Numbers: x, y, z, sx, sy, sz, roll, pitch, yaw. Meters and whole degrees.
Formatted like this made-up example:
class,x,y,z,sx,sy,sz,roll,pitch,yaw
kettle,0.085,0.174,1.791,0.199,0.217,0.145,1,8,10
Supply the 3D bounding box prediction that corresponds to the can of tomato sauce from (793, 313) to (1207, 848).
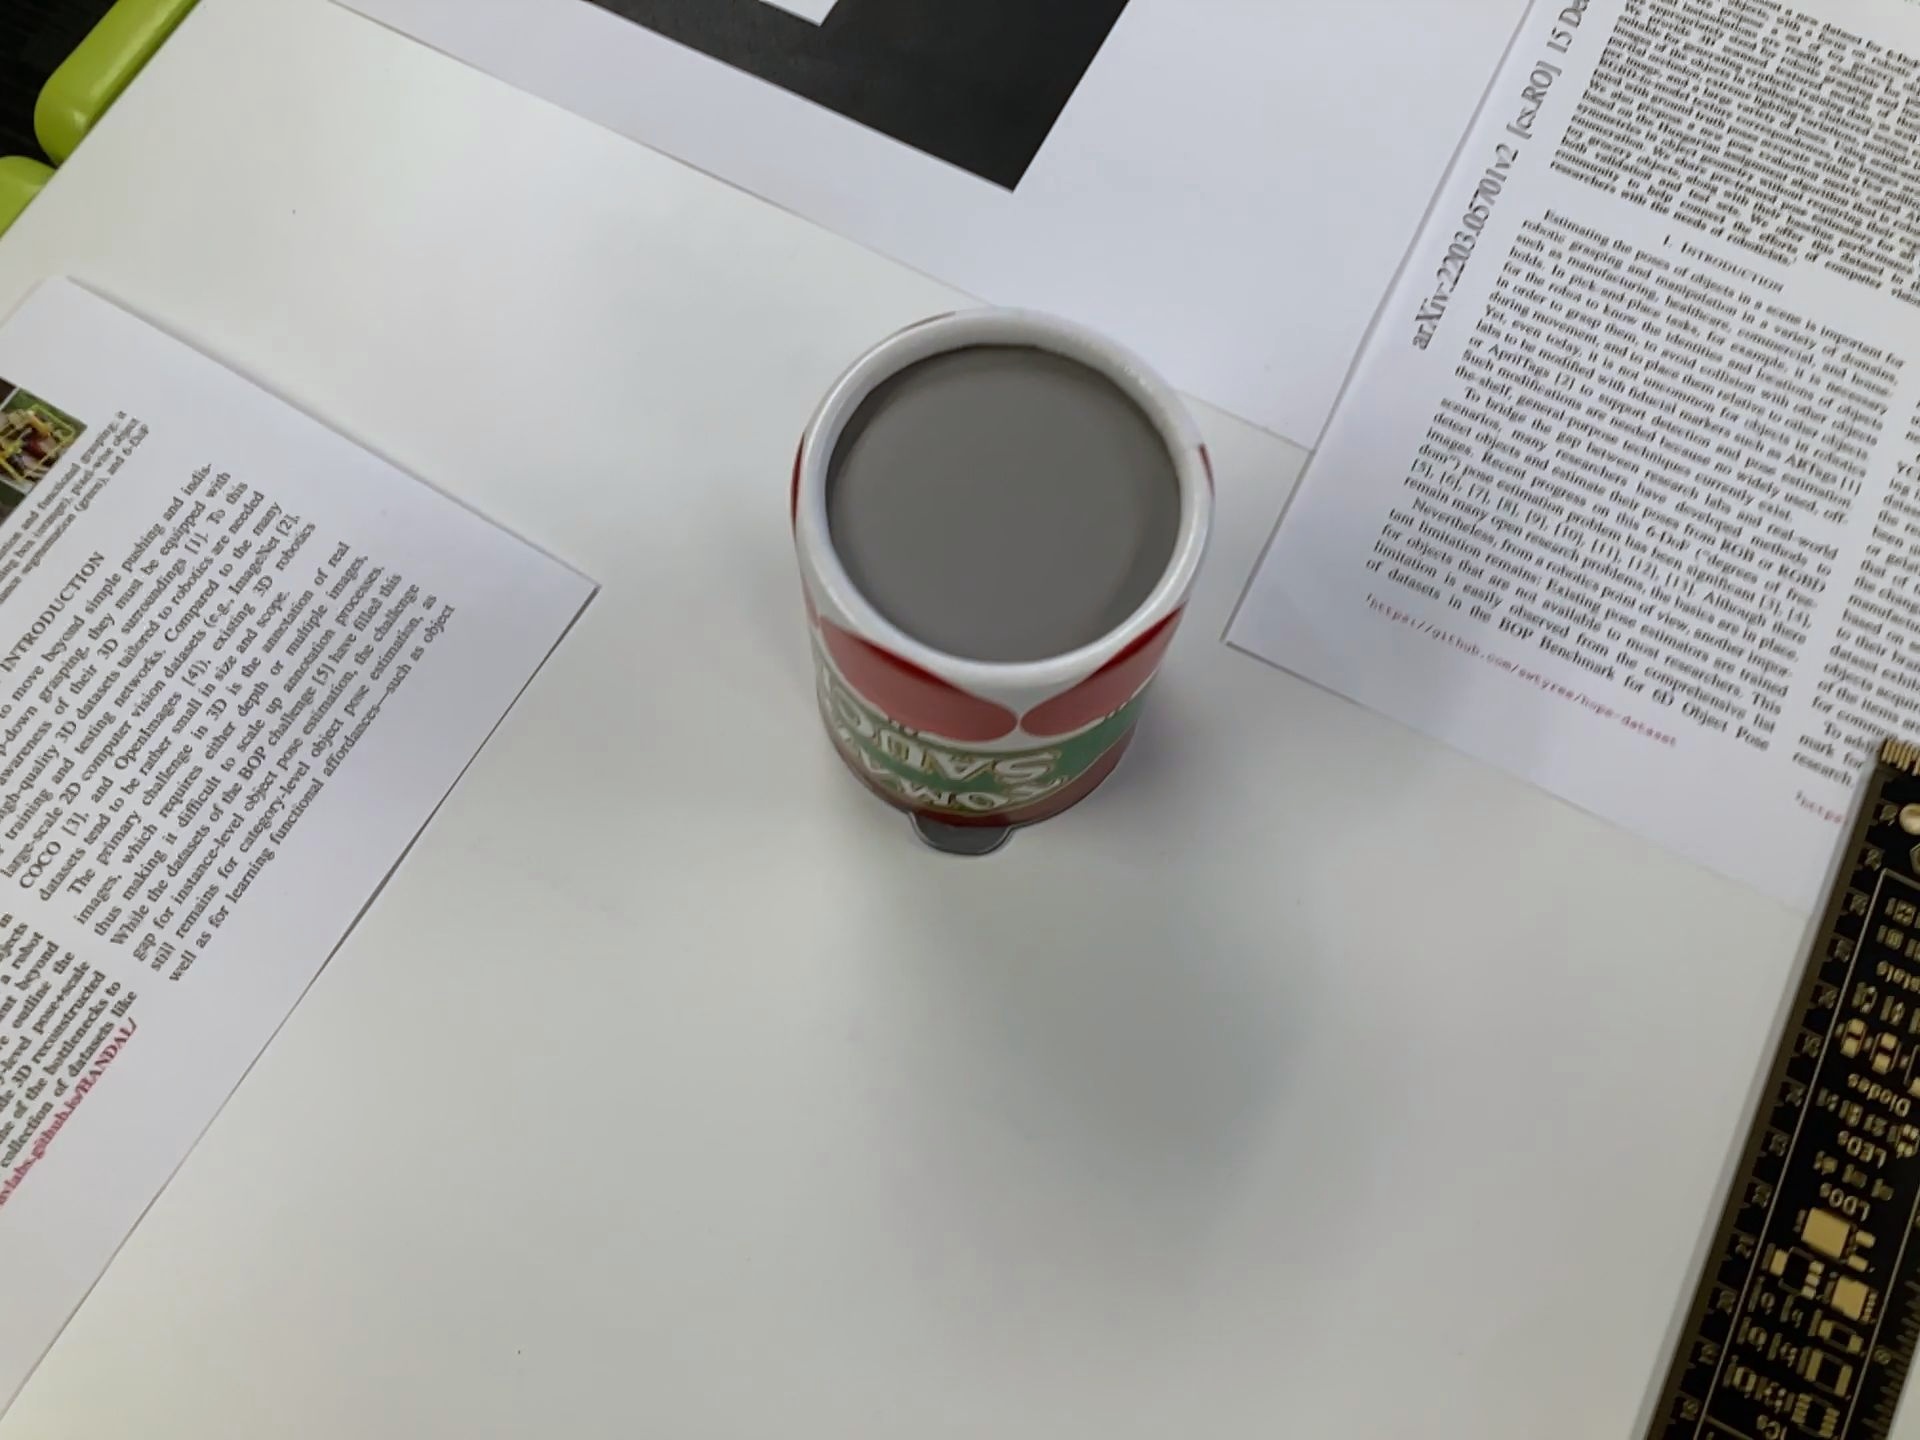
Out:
class,x,y,z,sx,sy,sz,roll,pitch,yaw
can of tomato sauce,0.003,-0.021,0.284,0.071,0.083,0.071,1,73,-3
